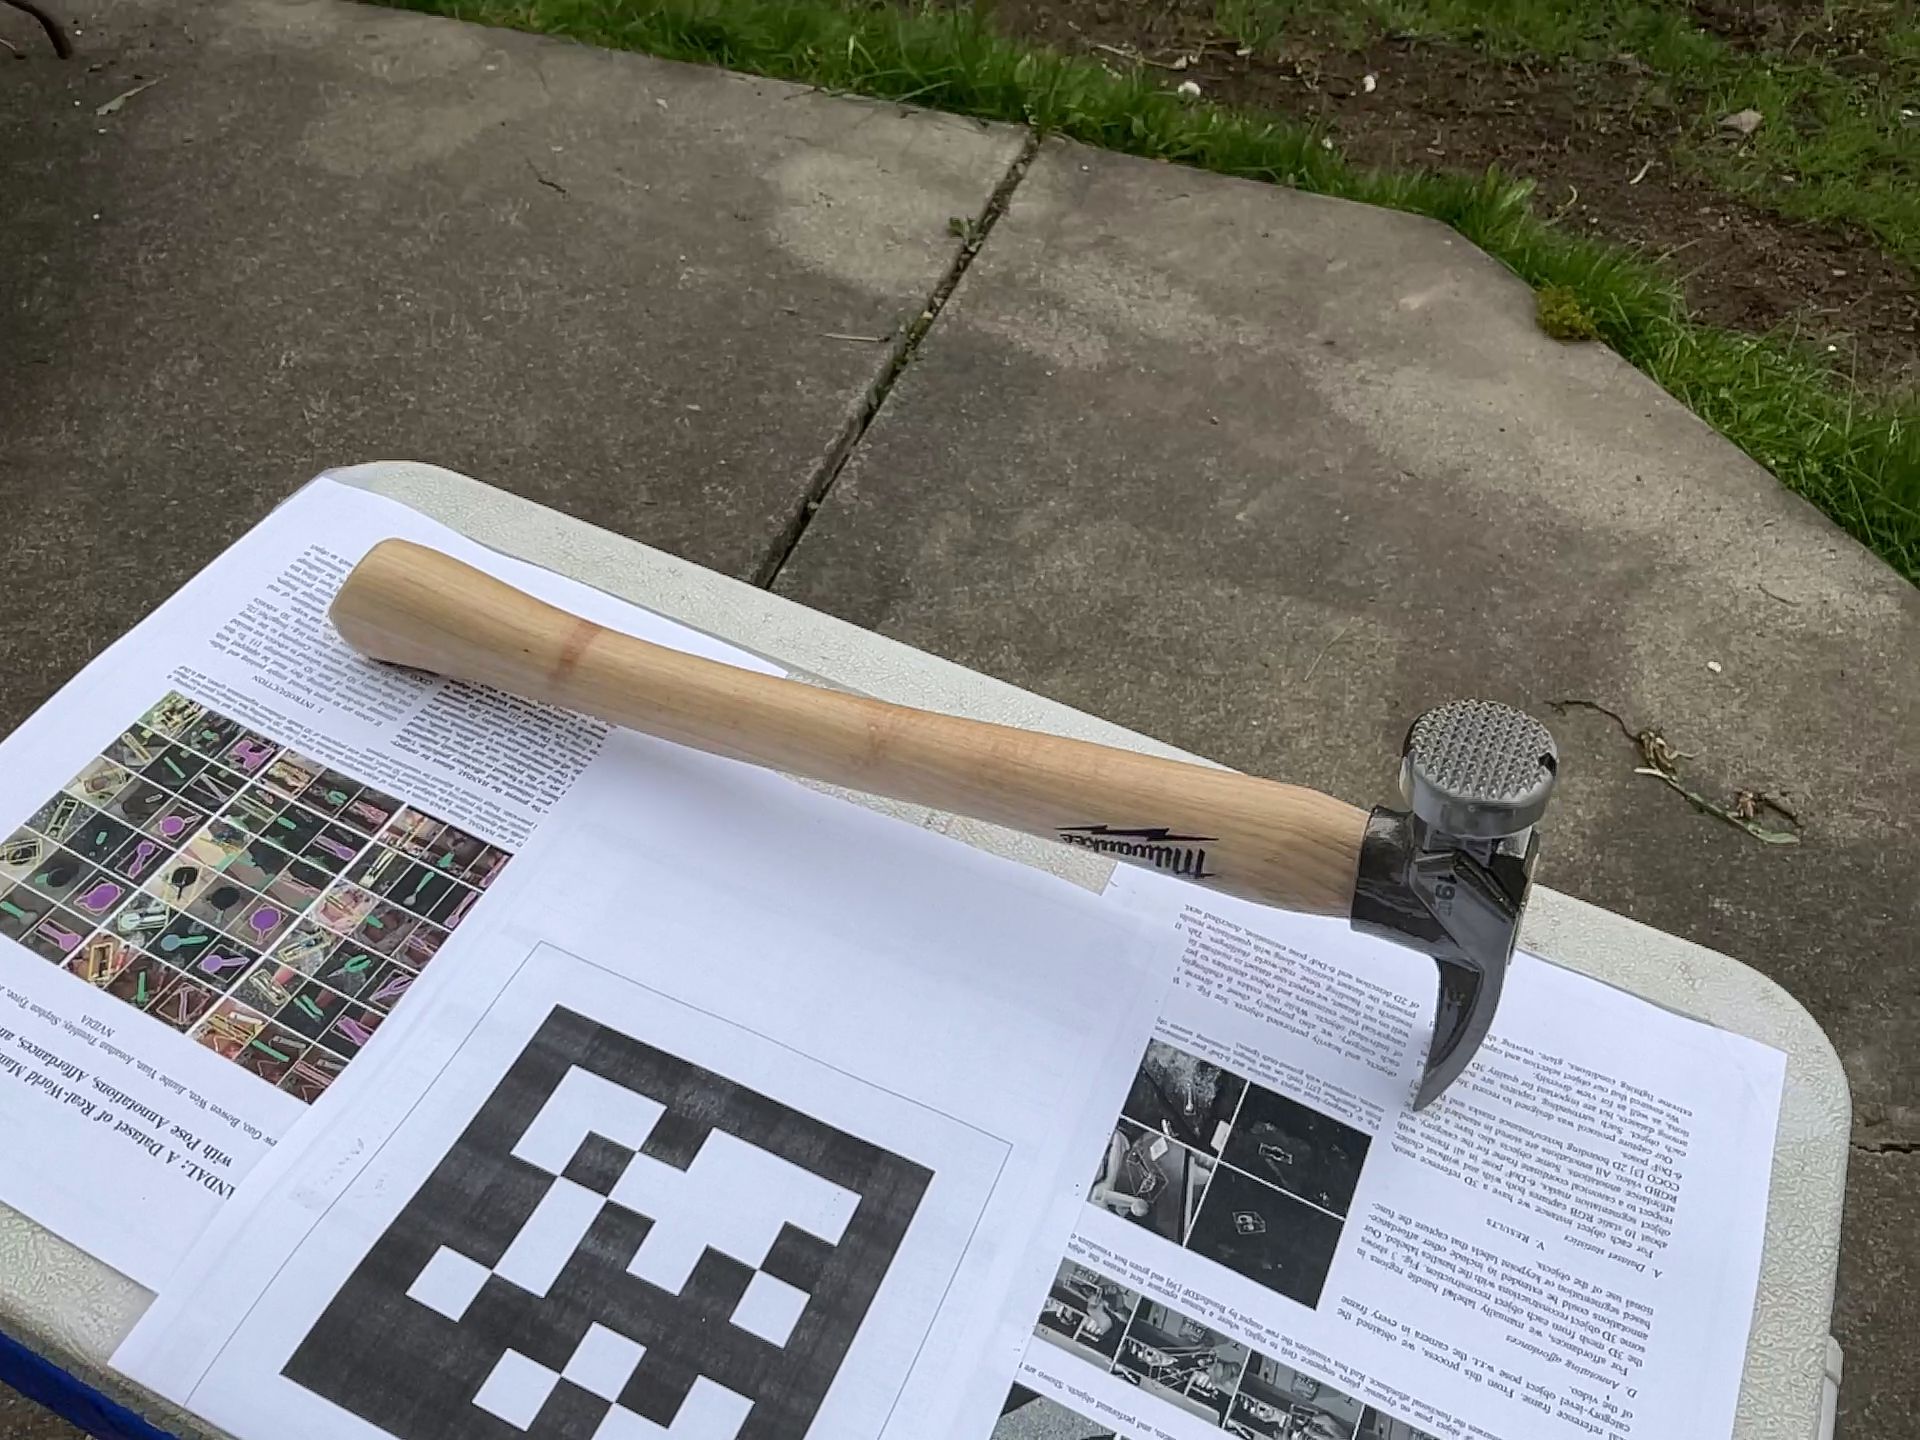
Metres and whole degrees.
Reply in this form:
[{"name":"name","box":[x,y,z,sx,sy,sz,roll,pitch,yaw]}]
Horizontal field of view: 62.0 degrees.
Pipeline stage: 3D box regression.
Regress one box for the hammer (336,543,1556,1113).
[{"name":"hammer","box":[-0.030,0.015,0.521,0.410,0.146,0.038,14,48,21]}]
